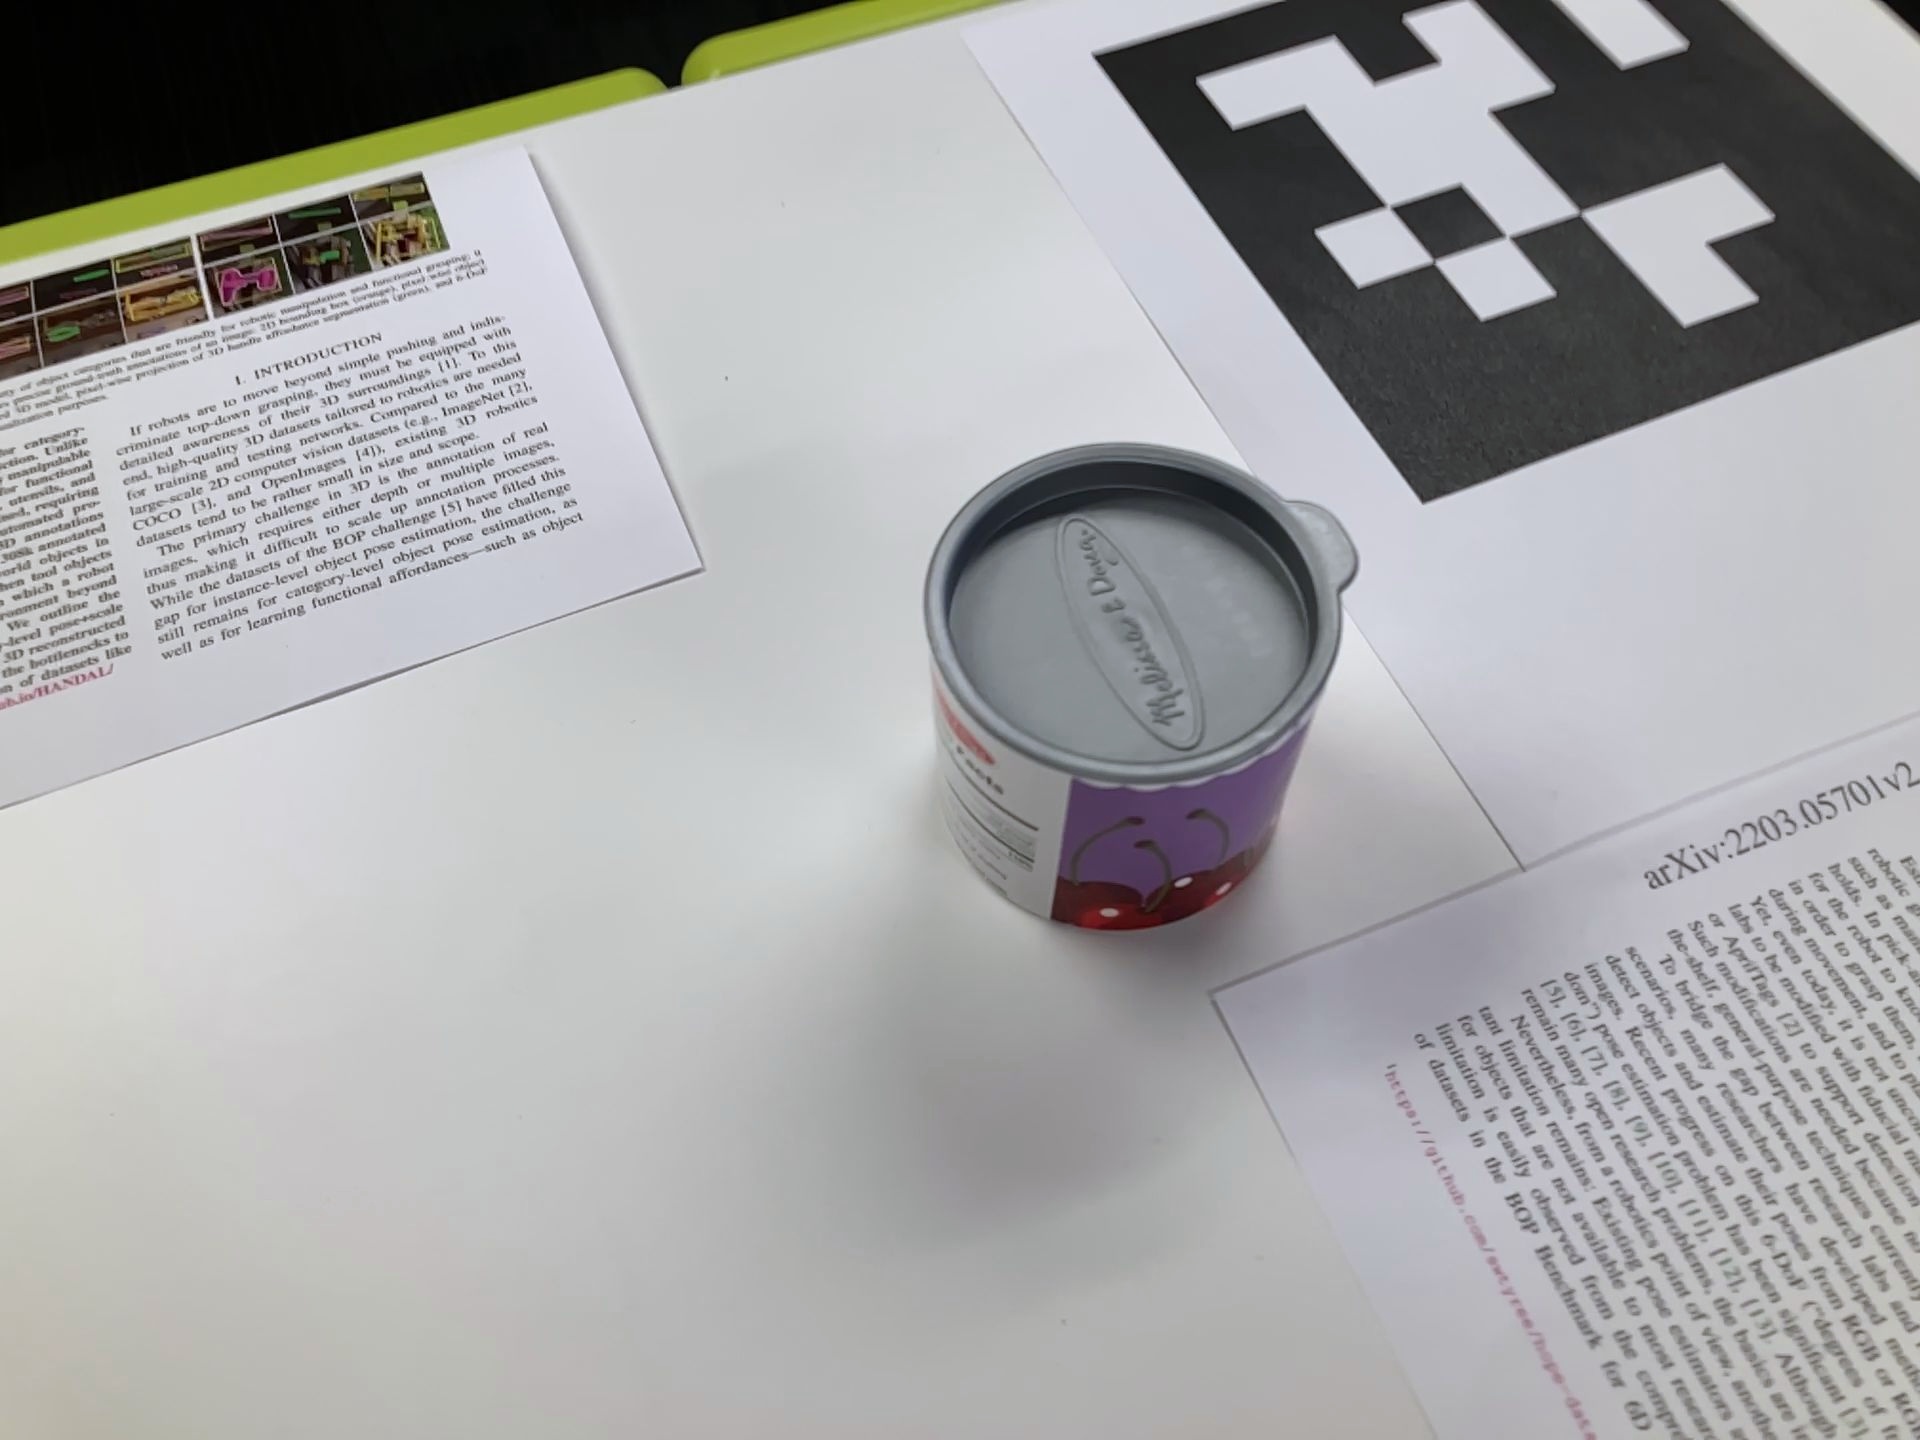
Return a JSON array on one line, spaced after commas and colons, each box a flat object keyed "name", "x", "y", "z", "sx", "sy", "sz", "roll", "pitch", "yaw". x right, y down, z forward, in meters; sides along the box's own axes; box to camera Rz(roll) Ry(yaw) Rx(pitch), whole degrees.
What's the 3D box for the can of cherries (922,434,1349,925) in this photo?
[{"name": "can of cherries", "x": 0.030, "y": -0.006, "z": 0.275, "sx": 0.071, "sy": 0.058, "sz": 0.071, "roll": -1, "pitch": 58, "yaw": 1}]
